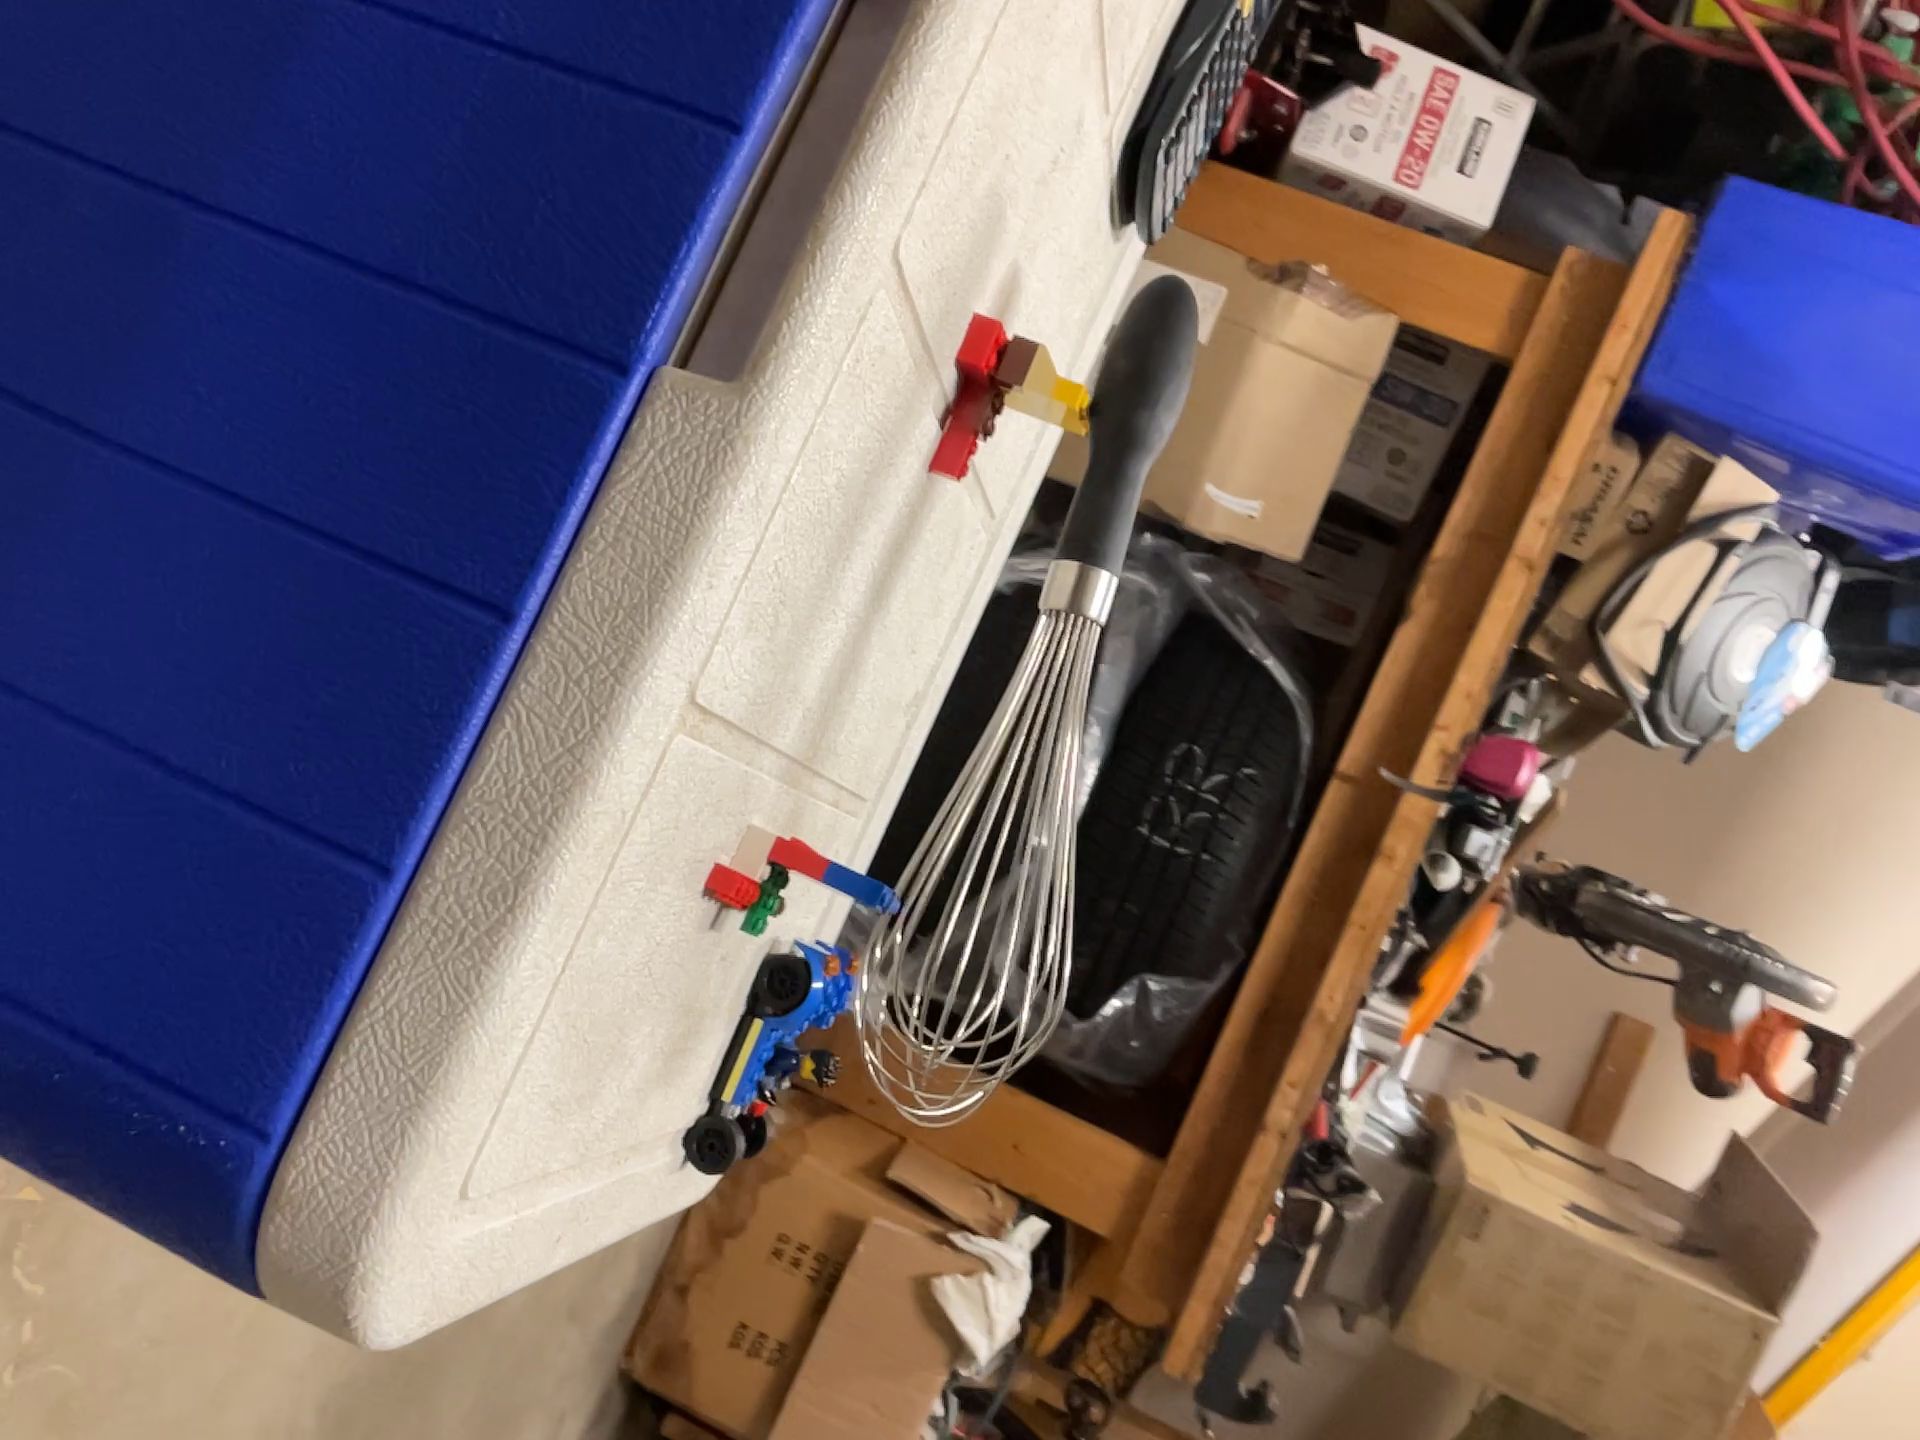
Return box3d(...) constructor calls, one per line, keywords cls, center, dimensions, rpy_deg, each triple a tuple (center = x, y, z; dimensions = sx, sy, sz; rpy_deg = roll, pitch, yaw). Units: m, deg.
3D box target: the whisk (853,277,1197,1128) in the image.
box3d(cls="whisk", center=(0.029, -0.010, 0.512), dimensions=(0.070, 0.070, 0.284), rpy_deg=(37, 69, -74))
